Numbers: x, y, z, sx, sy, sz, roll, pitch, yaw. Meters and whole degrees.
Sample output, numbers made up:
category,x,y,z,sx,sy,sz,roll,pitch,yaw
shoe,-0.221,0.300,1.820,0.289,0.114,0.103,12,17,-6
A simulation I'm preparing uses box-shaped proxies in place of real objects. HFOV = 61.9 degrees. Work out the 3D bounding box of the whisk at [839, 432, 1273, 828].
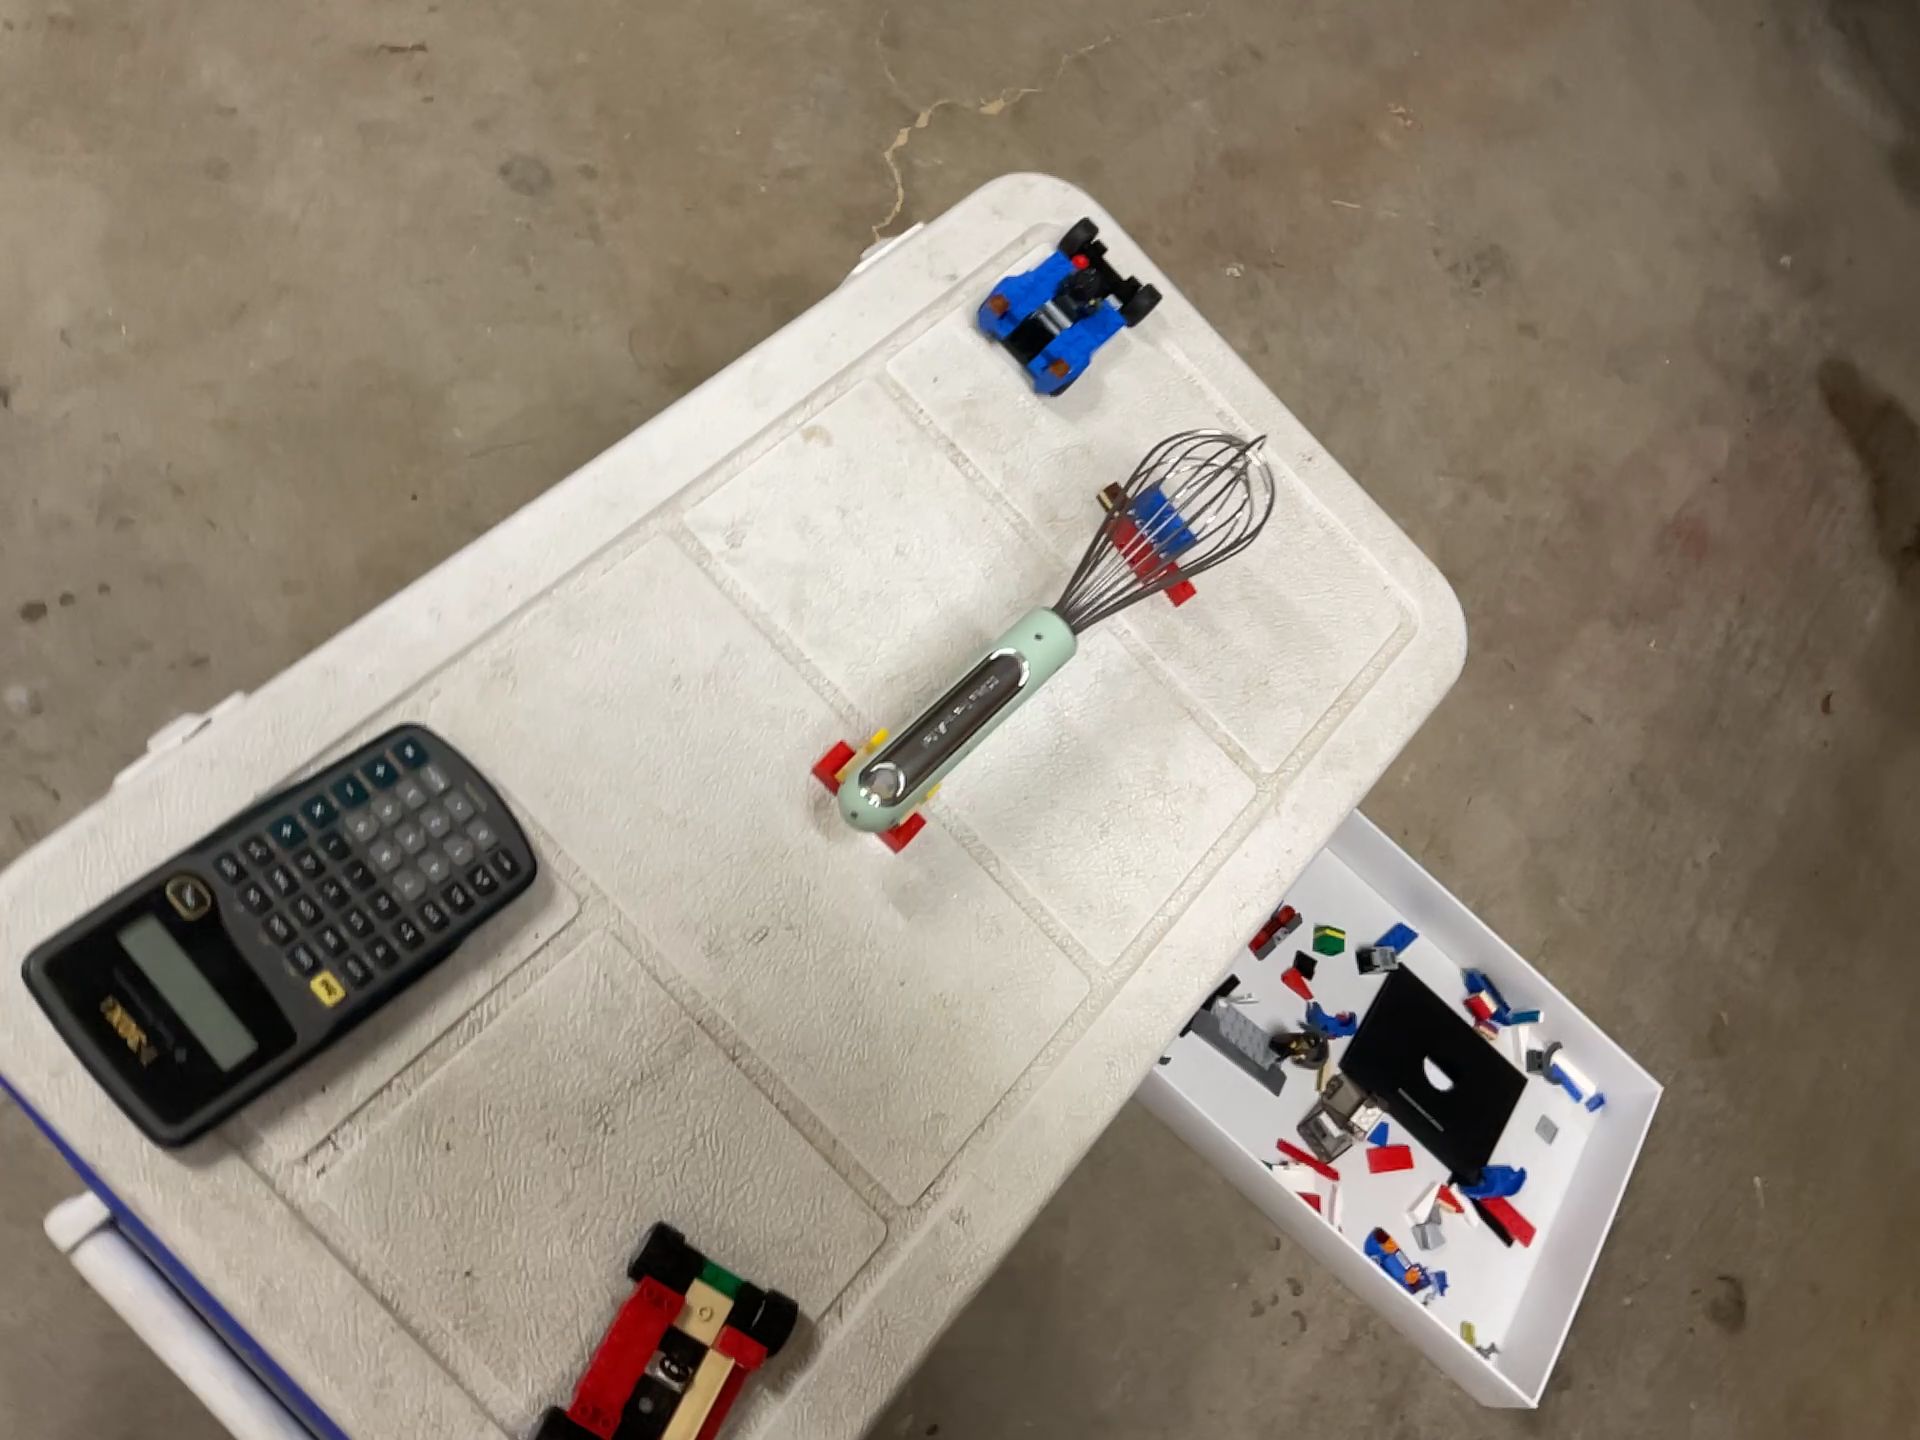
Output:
category,x,y,z,sx,sy,sz,roll,pitch,yaw
whisk,0.043,-0.041,0.638,0.058,0.059,0.246,45,66,6
